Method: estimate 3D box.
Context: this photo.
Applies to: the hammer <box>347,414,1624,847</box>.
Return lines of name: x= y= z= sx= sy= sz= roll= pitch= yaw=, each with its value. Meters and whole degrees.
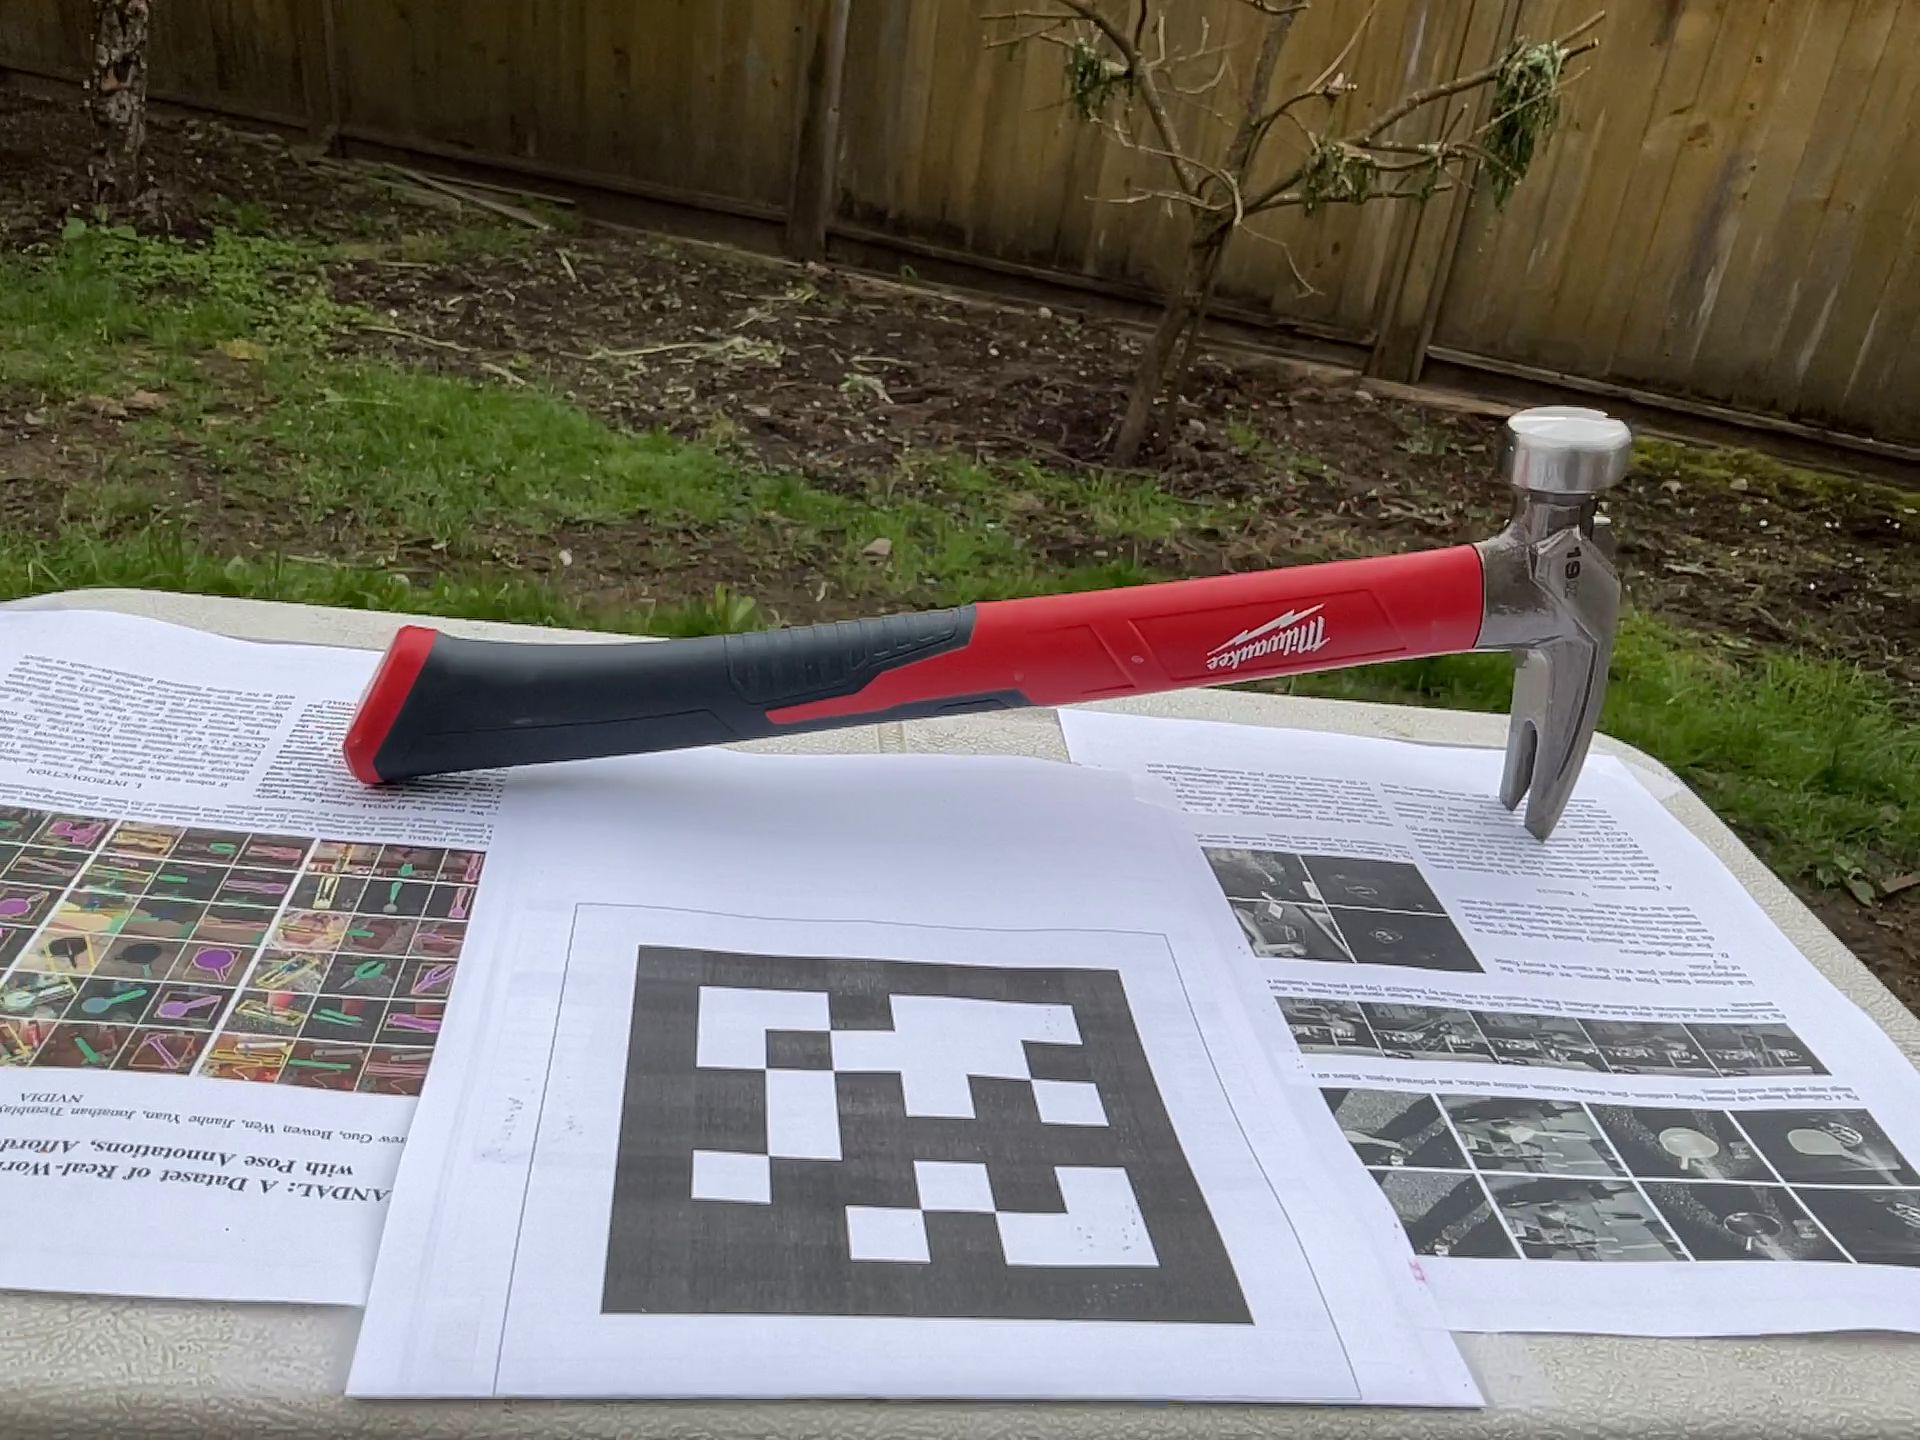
hammer: x=0.015 y=-0.005 z=0.498 sx=0.386 sy=0.143 sz=0.038 roll=-7 pitch=28 yaw=-8
